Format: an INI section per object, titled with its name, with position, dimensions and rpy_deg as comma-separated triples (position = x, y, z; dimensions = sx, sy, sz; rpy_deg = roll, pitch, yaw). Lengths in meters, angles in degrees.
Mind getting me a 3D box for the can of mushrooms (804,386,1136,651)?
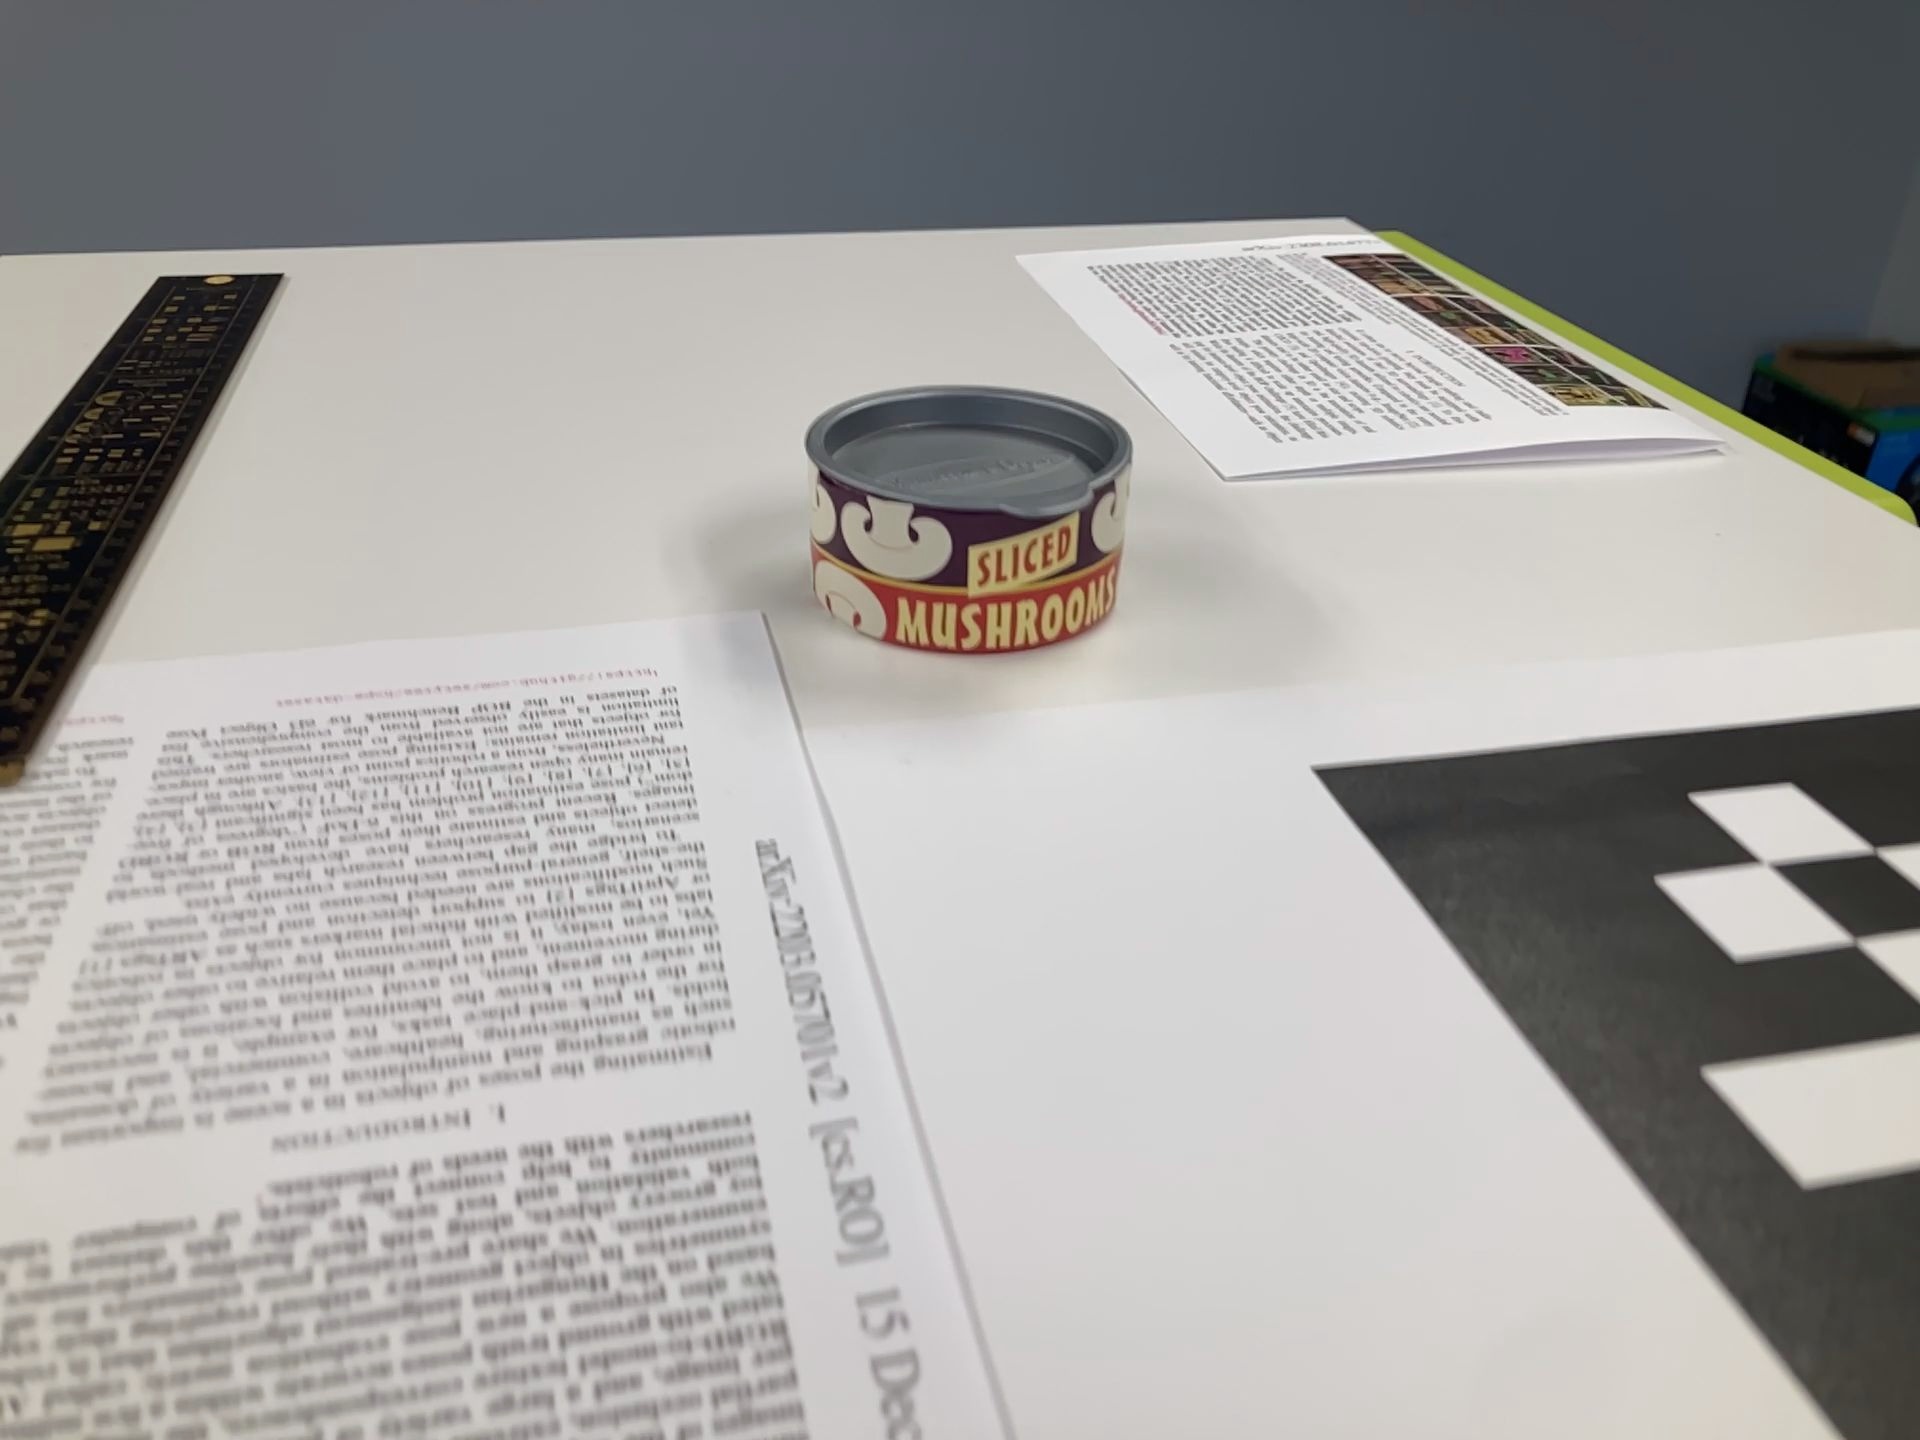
[can of mushrooms]
position = 0.003, -0.042, 0.323
dimensions = 0.071, 0.033, 0.071
rpy_deg = 2, 30, -1
